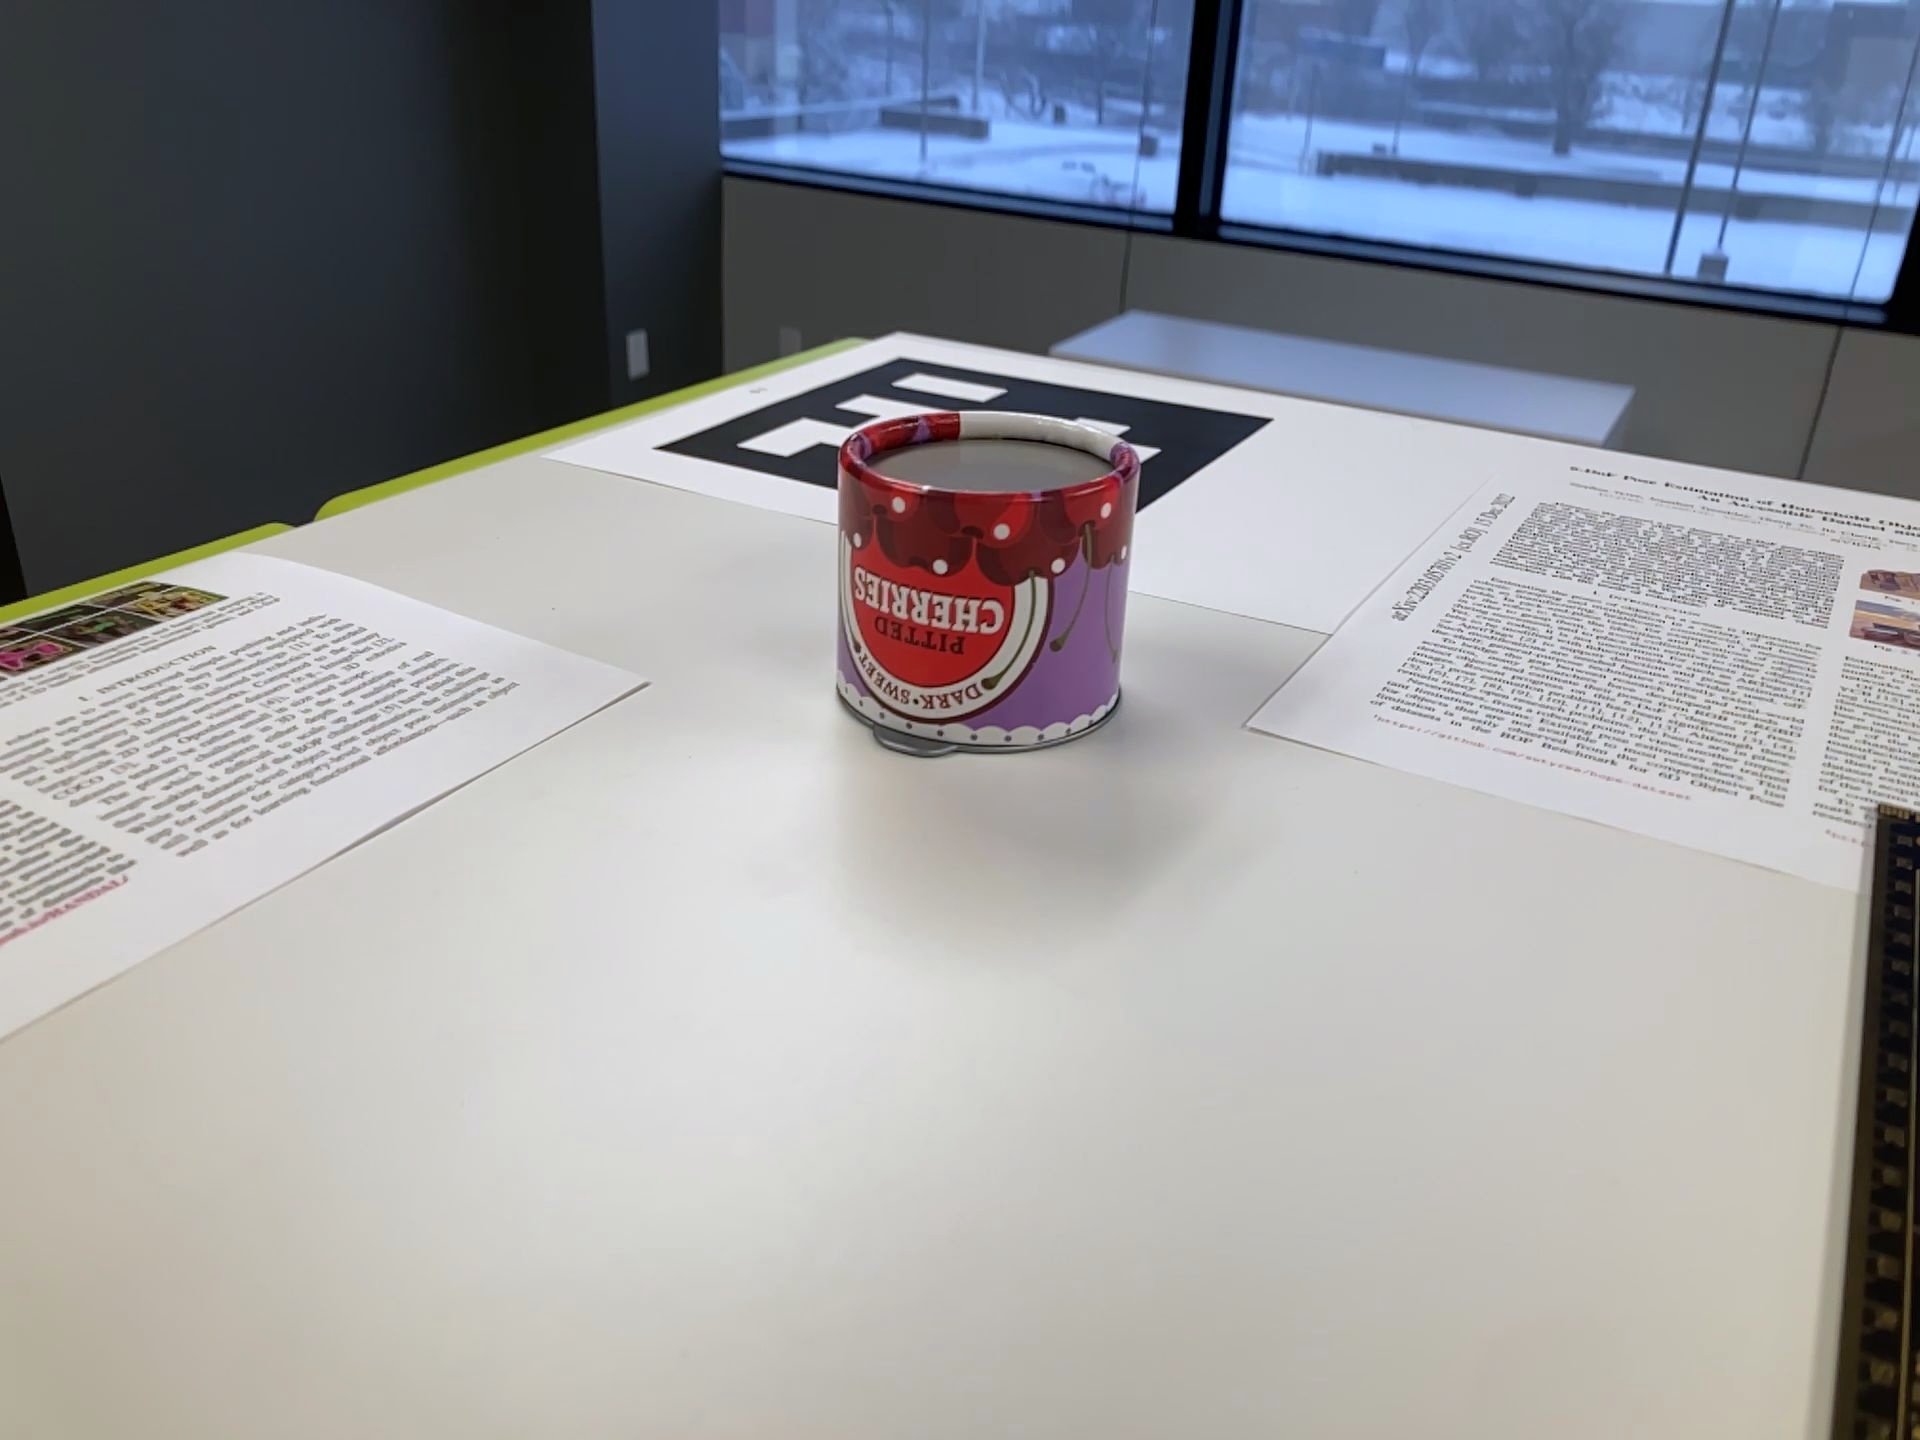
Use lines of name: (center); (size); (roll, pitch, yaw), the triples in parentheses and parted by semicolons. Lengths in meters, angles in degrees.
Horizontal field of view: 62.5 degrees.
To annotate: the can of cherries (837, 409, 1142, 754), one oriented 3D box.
can of cherries: (0.004, -0.032, 0.350); (0.071, 0.058, 0.071); (2, 26, -1)
